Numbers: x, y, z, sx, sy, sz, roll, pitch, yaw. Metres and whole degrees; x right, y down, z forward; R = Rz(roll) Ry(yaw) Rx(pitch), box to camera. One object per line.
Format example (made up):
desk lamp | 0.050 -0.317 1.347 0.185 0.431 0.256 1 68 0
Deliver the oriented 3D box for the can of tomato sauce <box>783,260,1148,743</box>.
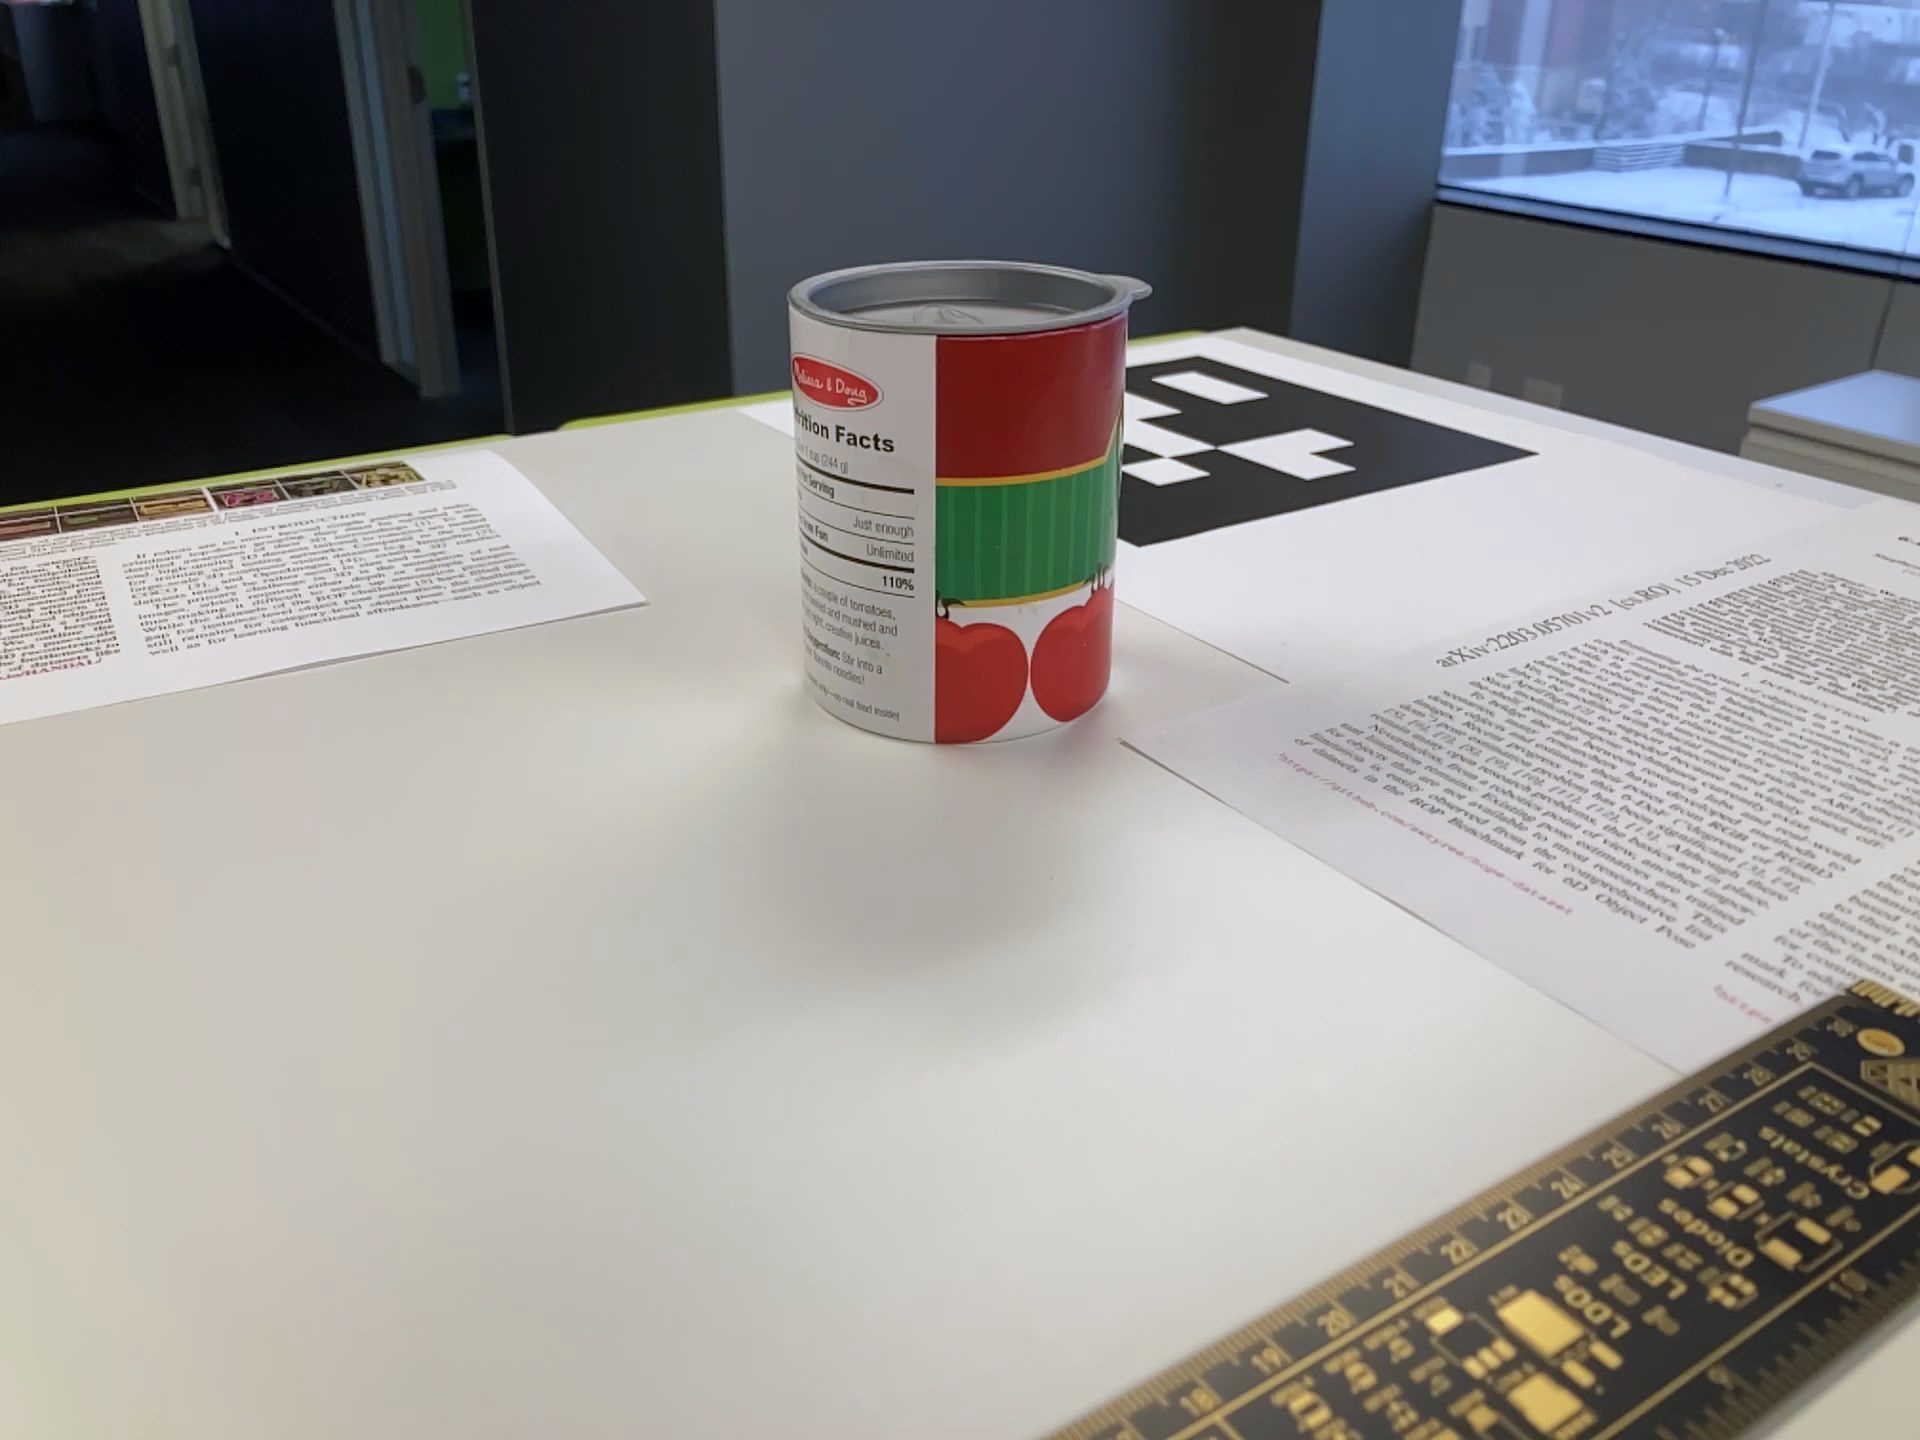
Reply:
can of tomato sauce | 0.001 -0.046 0.324 0.071 0.083 0.071 0 25 0
